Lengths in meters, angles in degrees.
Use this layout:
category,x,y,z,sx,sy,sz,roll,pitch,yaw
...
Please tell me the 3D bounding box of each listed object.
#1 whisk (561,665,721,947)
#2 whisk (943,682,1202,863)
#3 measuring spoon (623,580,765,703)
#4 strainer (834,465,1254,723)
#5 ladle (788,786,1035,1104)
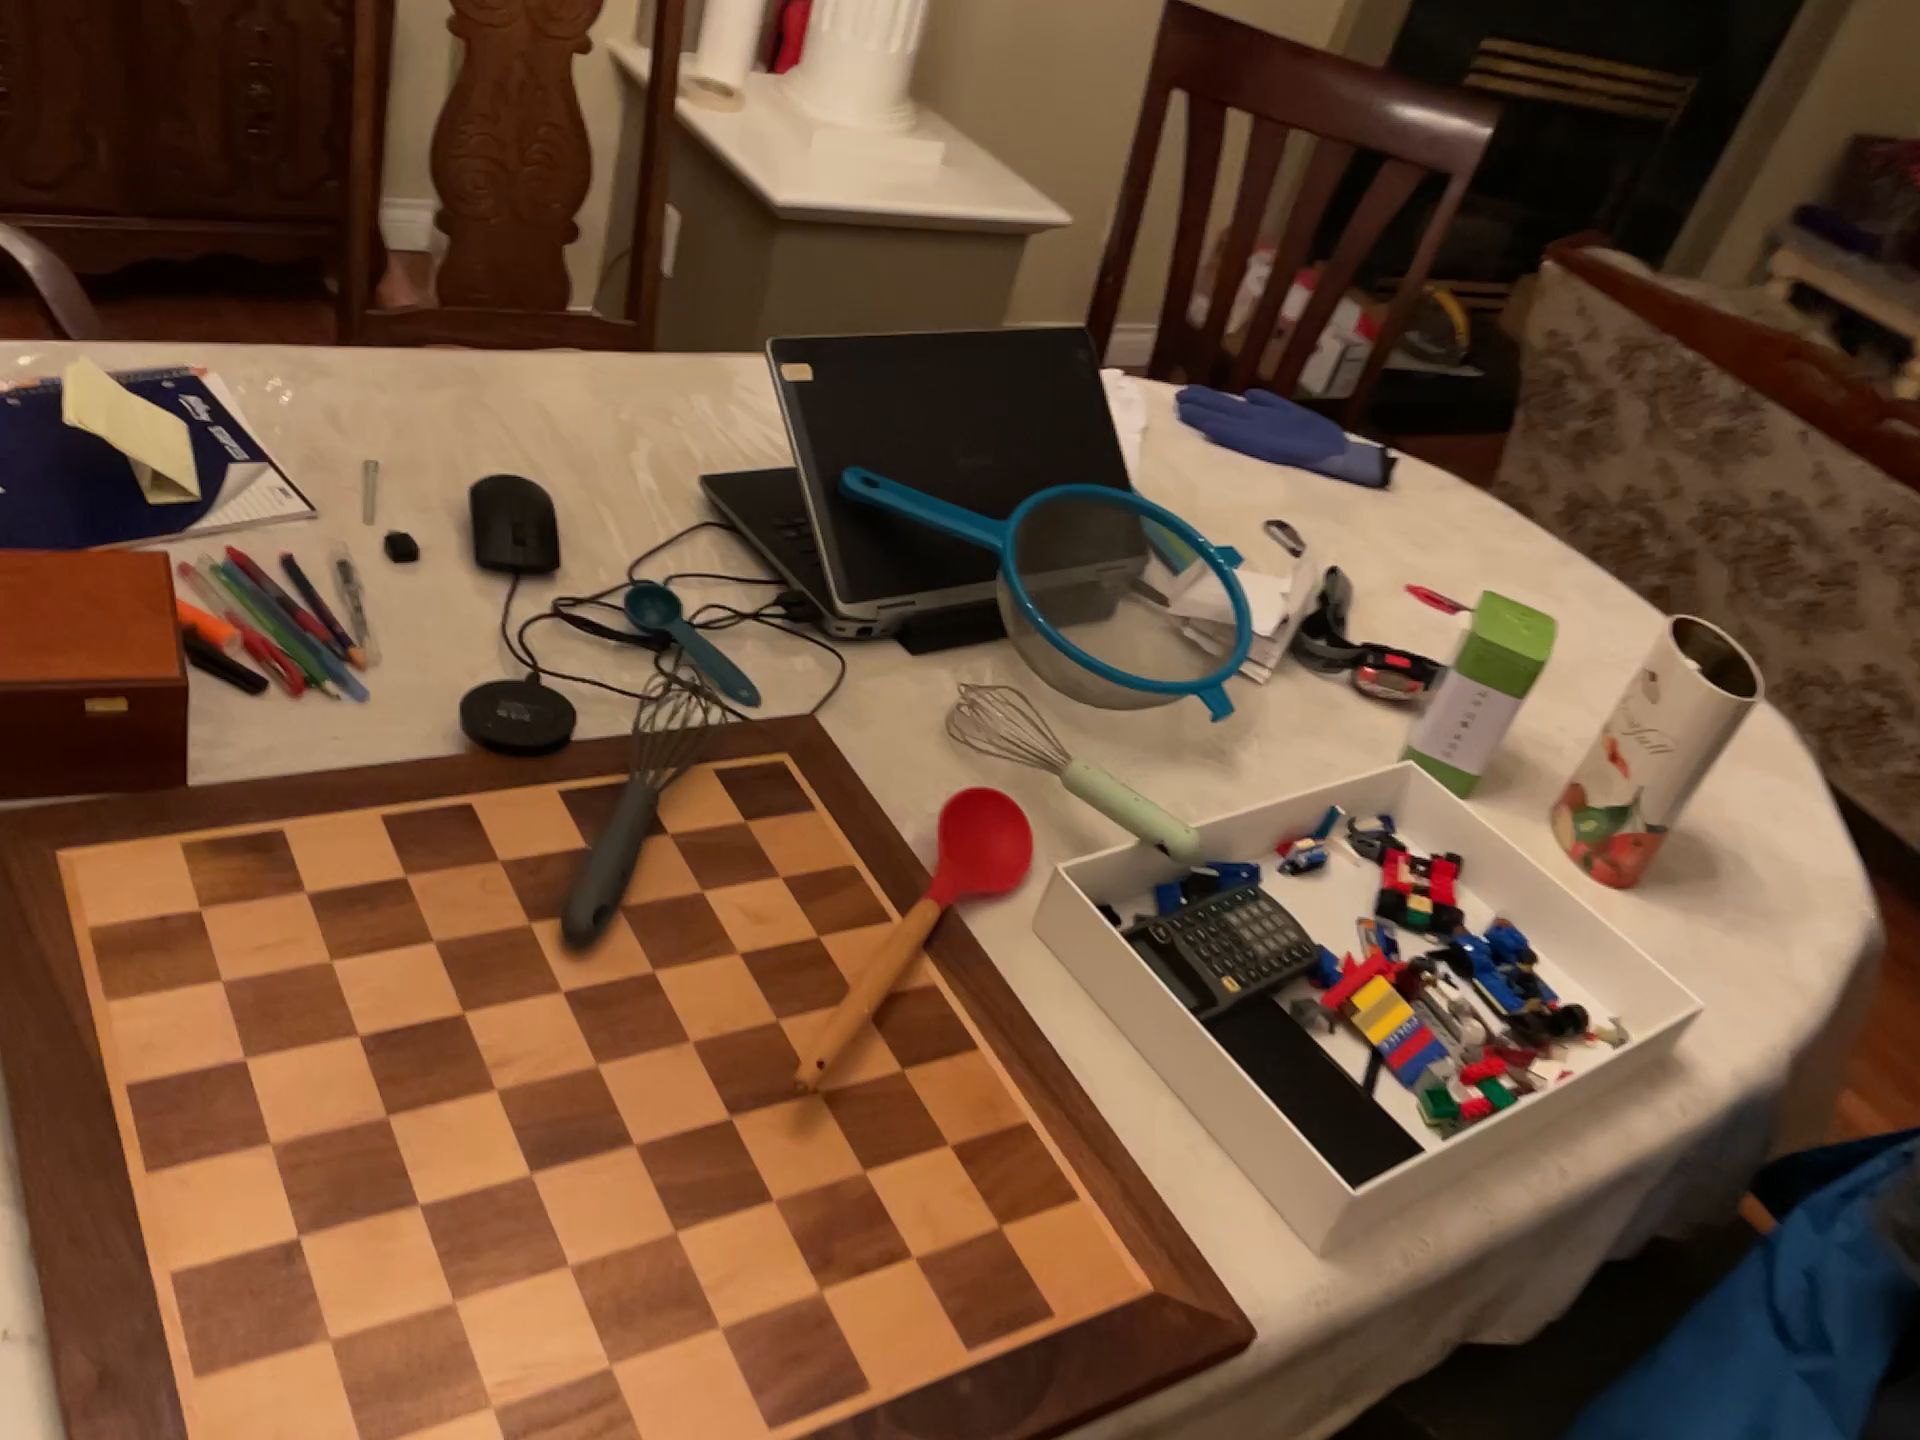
category,x,y,z,sx,sy,sz,roll,pitch,yaw
whisk,-0.189,0.046,0.936,0.055,0.055,0.239,6,38,5
whisk,0.072,0.032,1.066,0.059,0.057,0.247,-38,43,-18
measuring spoon,-0.187,-0.050,1.119,0.129,0.021,0.042,41,46,10
strainer,0.055,-0.101,1.227,0.340,0.095,0.211,20,47,-8
ladle,-0.026,0.123,0.915,0.069,0.031,0.315,44,31,-2
